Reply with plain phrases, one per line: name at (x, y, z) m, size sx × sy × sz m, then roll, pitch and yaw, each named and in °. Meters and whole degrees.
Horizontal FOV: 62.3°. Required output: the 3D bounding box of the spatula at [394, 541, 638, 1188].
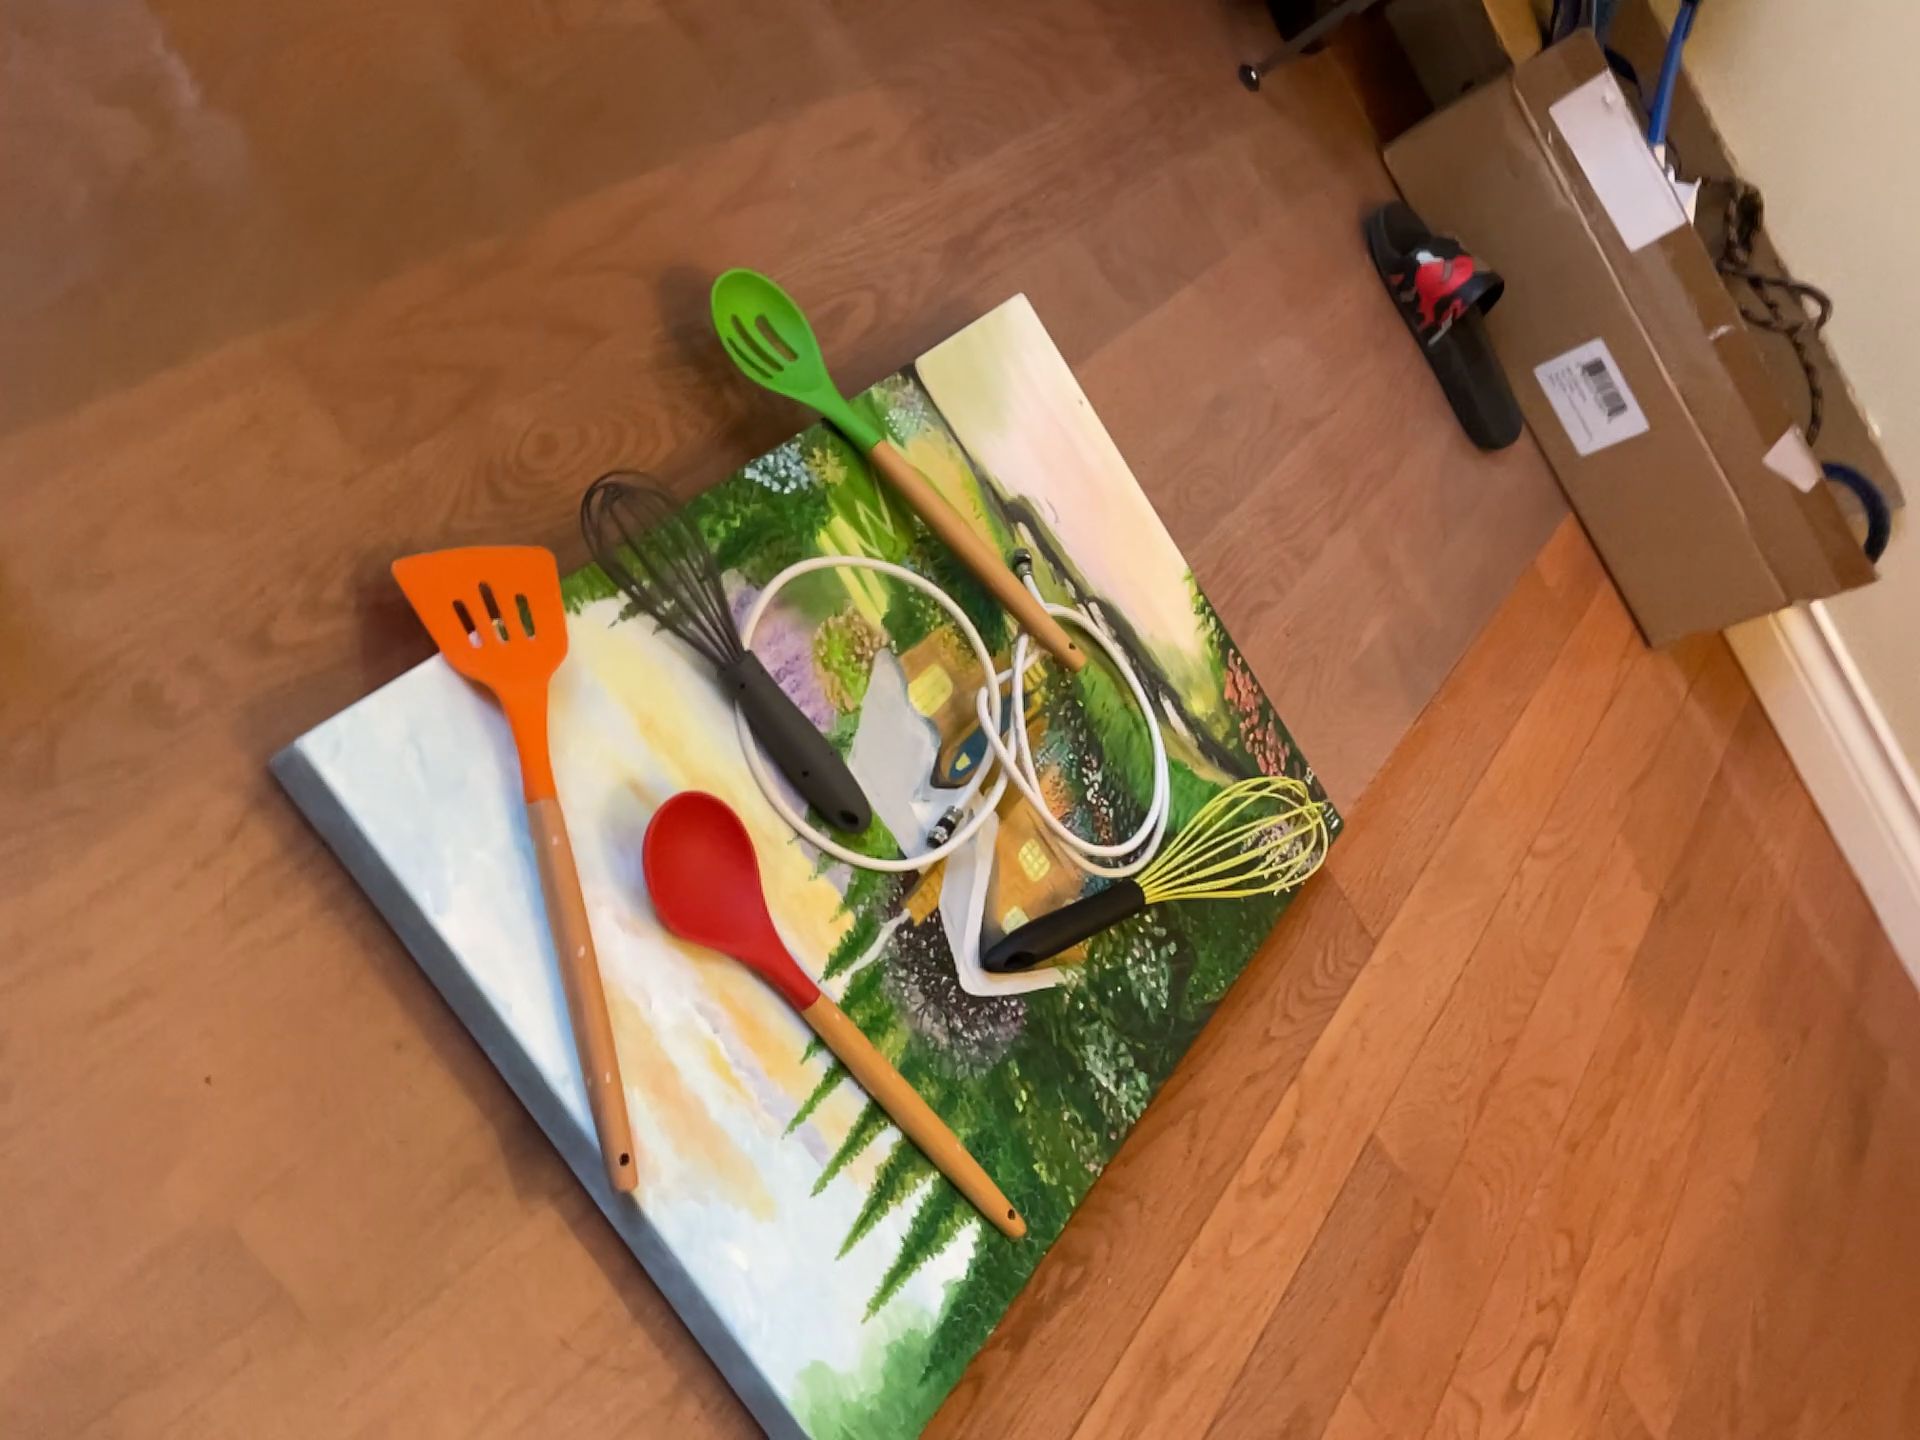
spatula at (-0.198, 0.063, 0.765) m, size 0.081 × 0.041 × 0.323 m, roll -10°, pitch 83°, yaw -32°

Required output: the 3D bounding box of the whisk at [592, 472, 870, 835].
whisk at (-0.117, -0.030, 0.845) m, size 0.055 × 0.055 × 0.238 m, roll -48°, pitch 114°, yaw -30°

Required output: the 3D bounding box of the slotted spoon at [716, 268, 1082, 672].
slotted spoon at (-0.036, -0.146, 0.964) m, size 0.313 × 0.031 × 0.070 m, roll 47°, pitch 48°, yaw -3°

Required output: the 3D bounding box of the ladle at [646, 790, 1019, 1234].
ladle at (-0.062, 0.164, 0.837) m, size 0.315 × 0.031 × 0.069 m, roll 52°, pitch 49°, yaw -18°

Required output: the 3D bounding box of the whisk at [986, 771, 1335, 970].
whisk at (0.131, 0.101, 1.018) m, size 0.311 × 0.067 × 0.080 m, roll -19°, pitch 83°, yaw -38°
